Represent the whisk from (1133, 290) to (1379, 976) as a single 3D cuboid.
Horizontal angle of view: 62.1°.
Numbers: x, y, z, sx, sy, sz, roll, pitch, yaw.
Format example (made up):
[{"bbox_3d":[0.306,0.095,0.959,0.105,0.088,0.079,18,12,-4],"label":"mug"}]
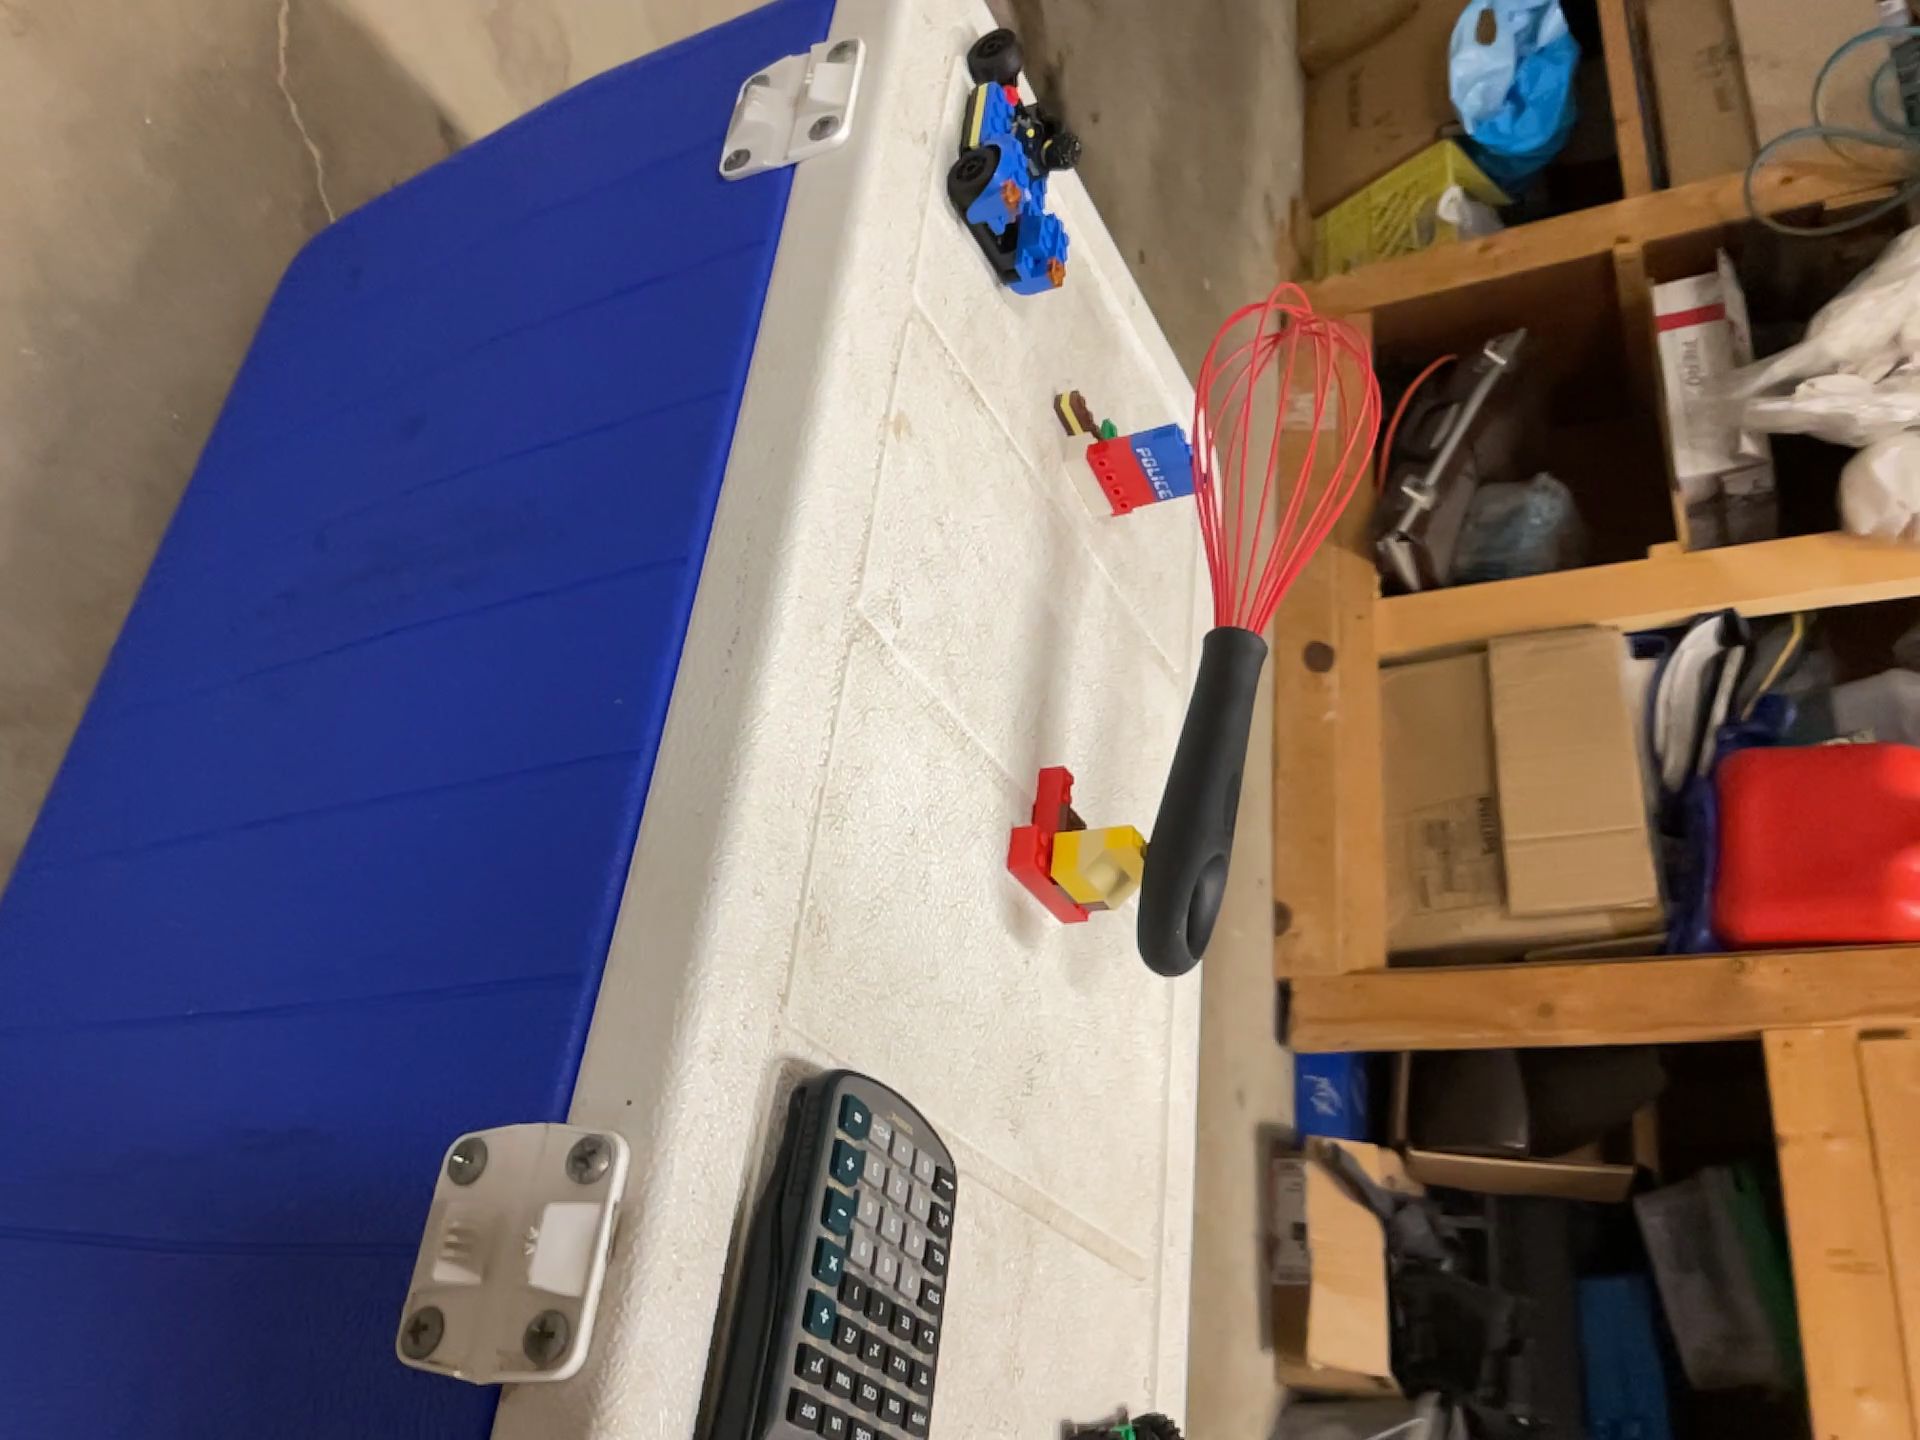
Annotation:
[{"bbox_3d":[0.105,-0.044,0.591,0.073,0.073,0.296,52,47,-49],"label":"whisk"}]
